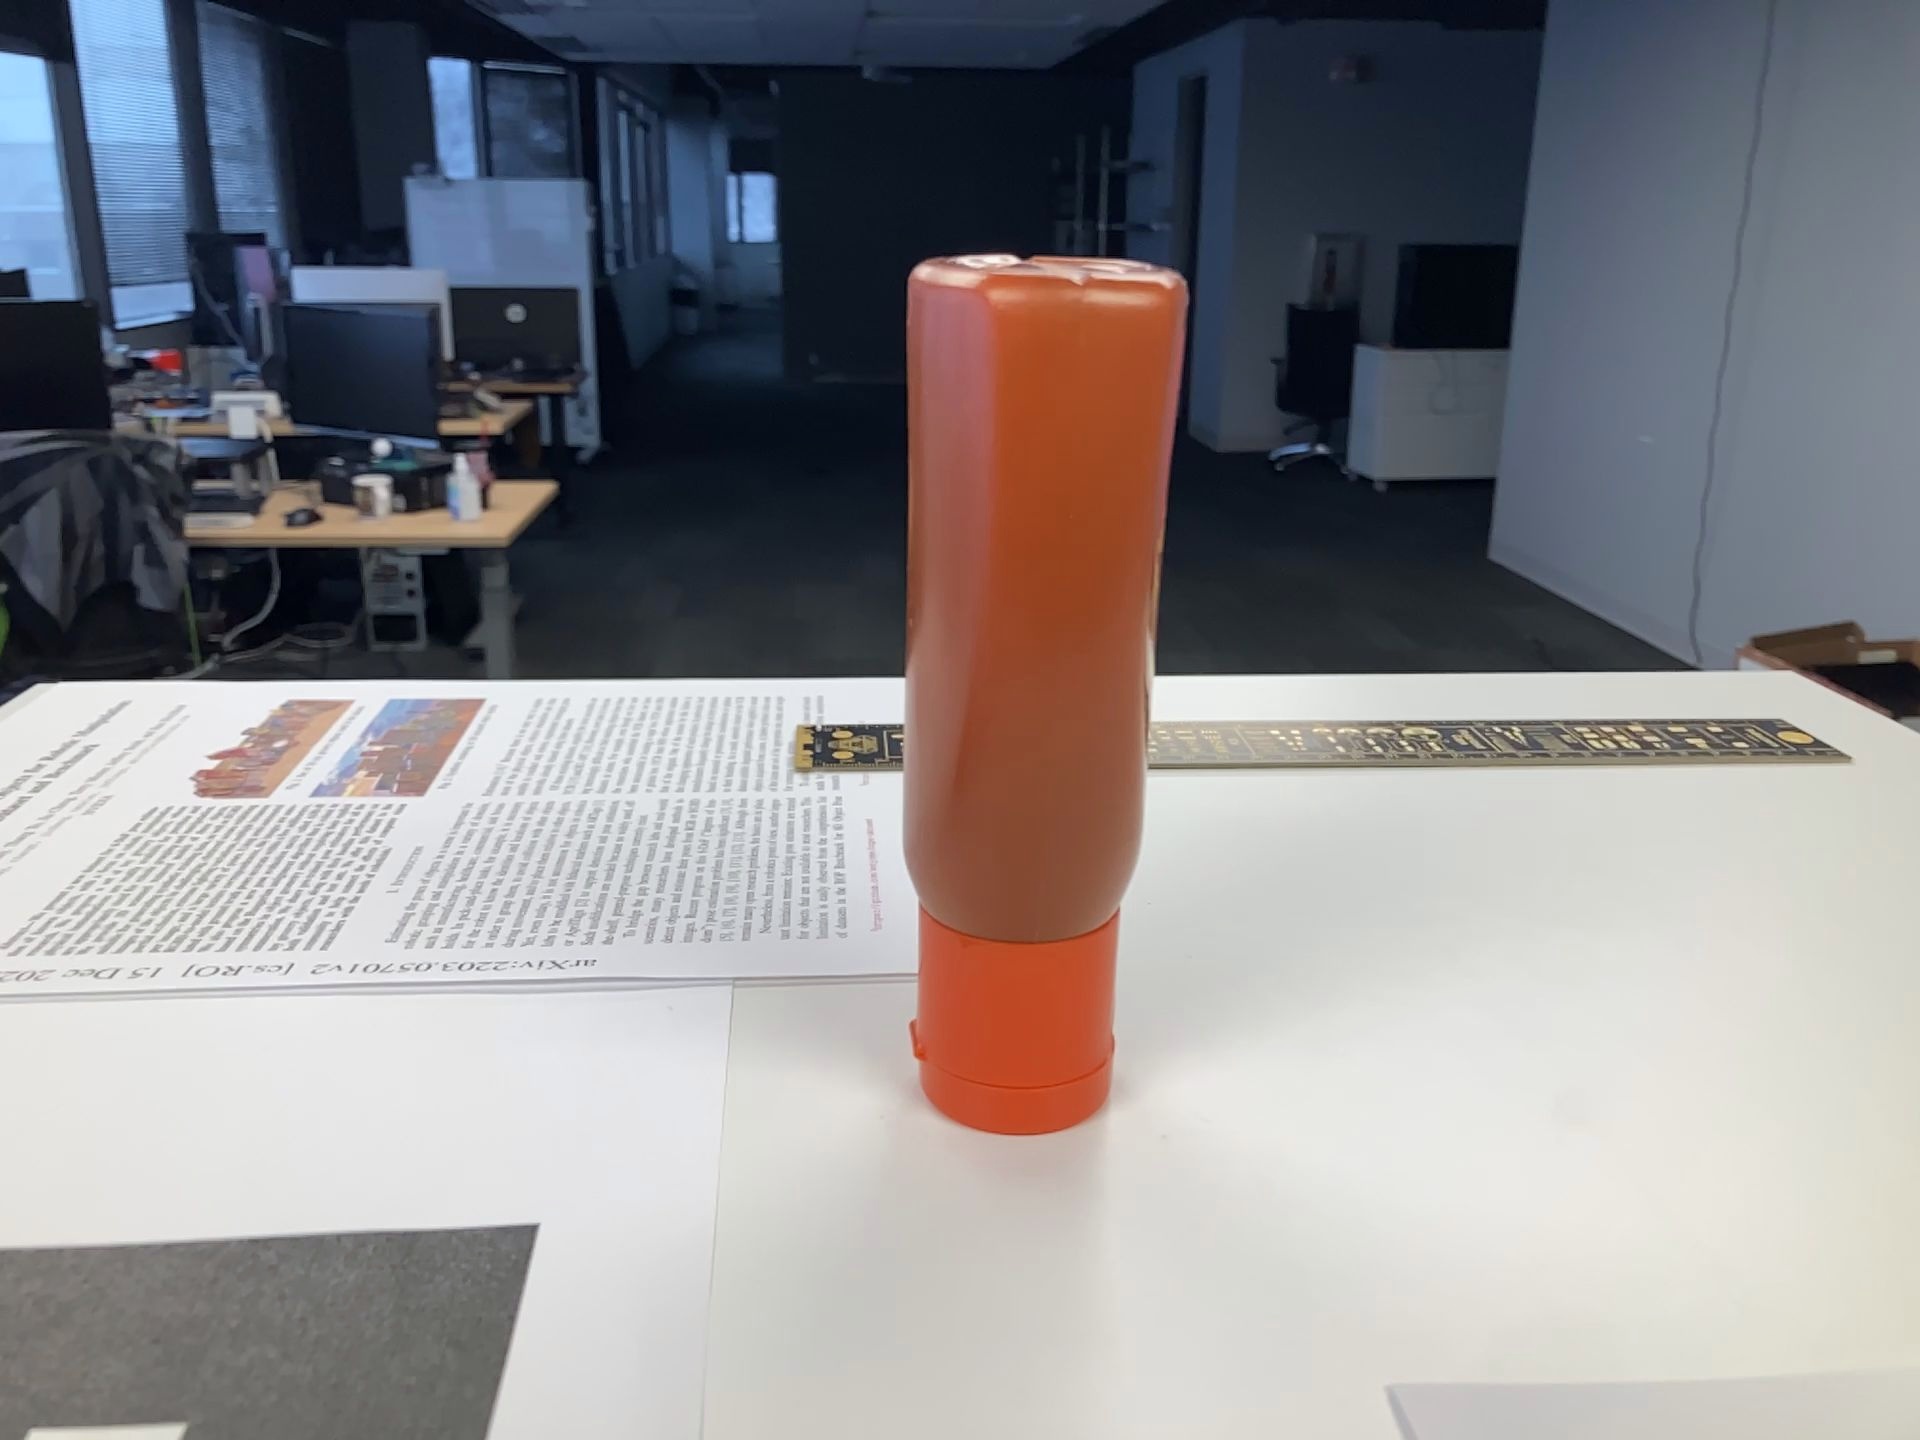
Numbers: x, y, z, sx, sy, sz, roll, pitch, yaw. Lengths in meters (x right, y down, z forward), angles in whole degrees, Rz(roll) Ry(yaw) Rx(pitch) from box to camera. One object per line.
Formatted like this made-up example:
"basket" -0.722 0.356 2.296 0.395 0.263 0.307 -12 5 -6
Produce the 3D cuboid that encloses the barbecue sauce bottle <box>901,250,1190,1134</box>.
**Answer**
"barbecue sauce bottle" 0.012 -0.003 0.272 0.043 0.148 0.065 -1 17 -7
